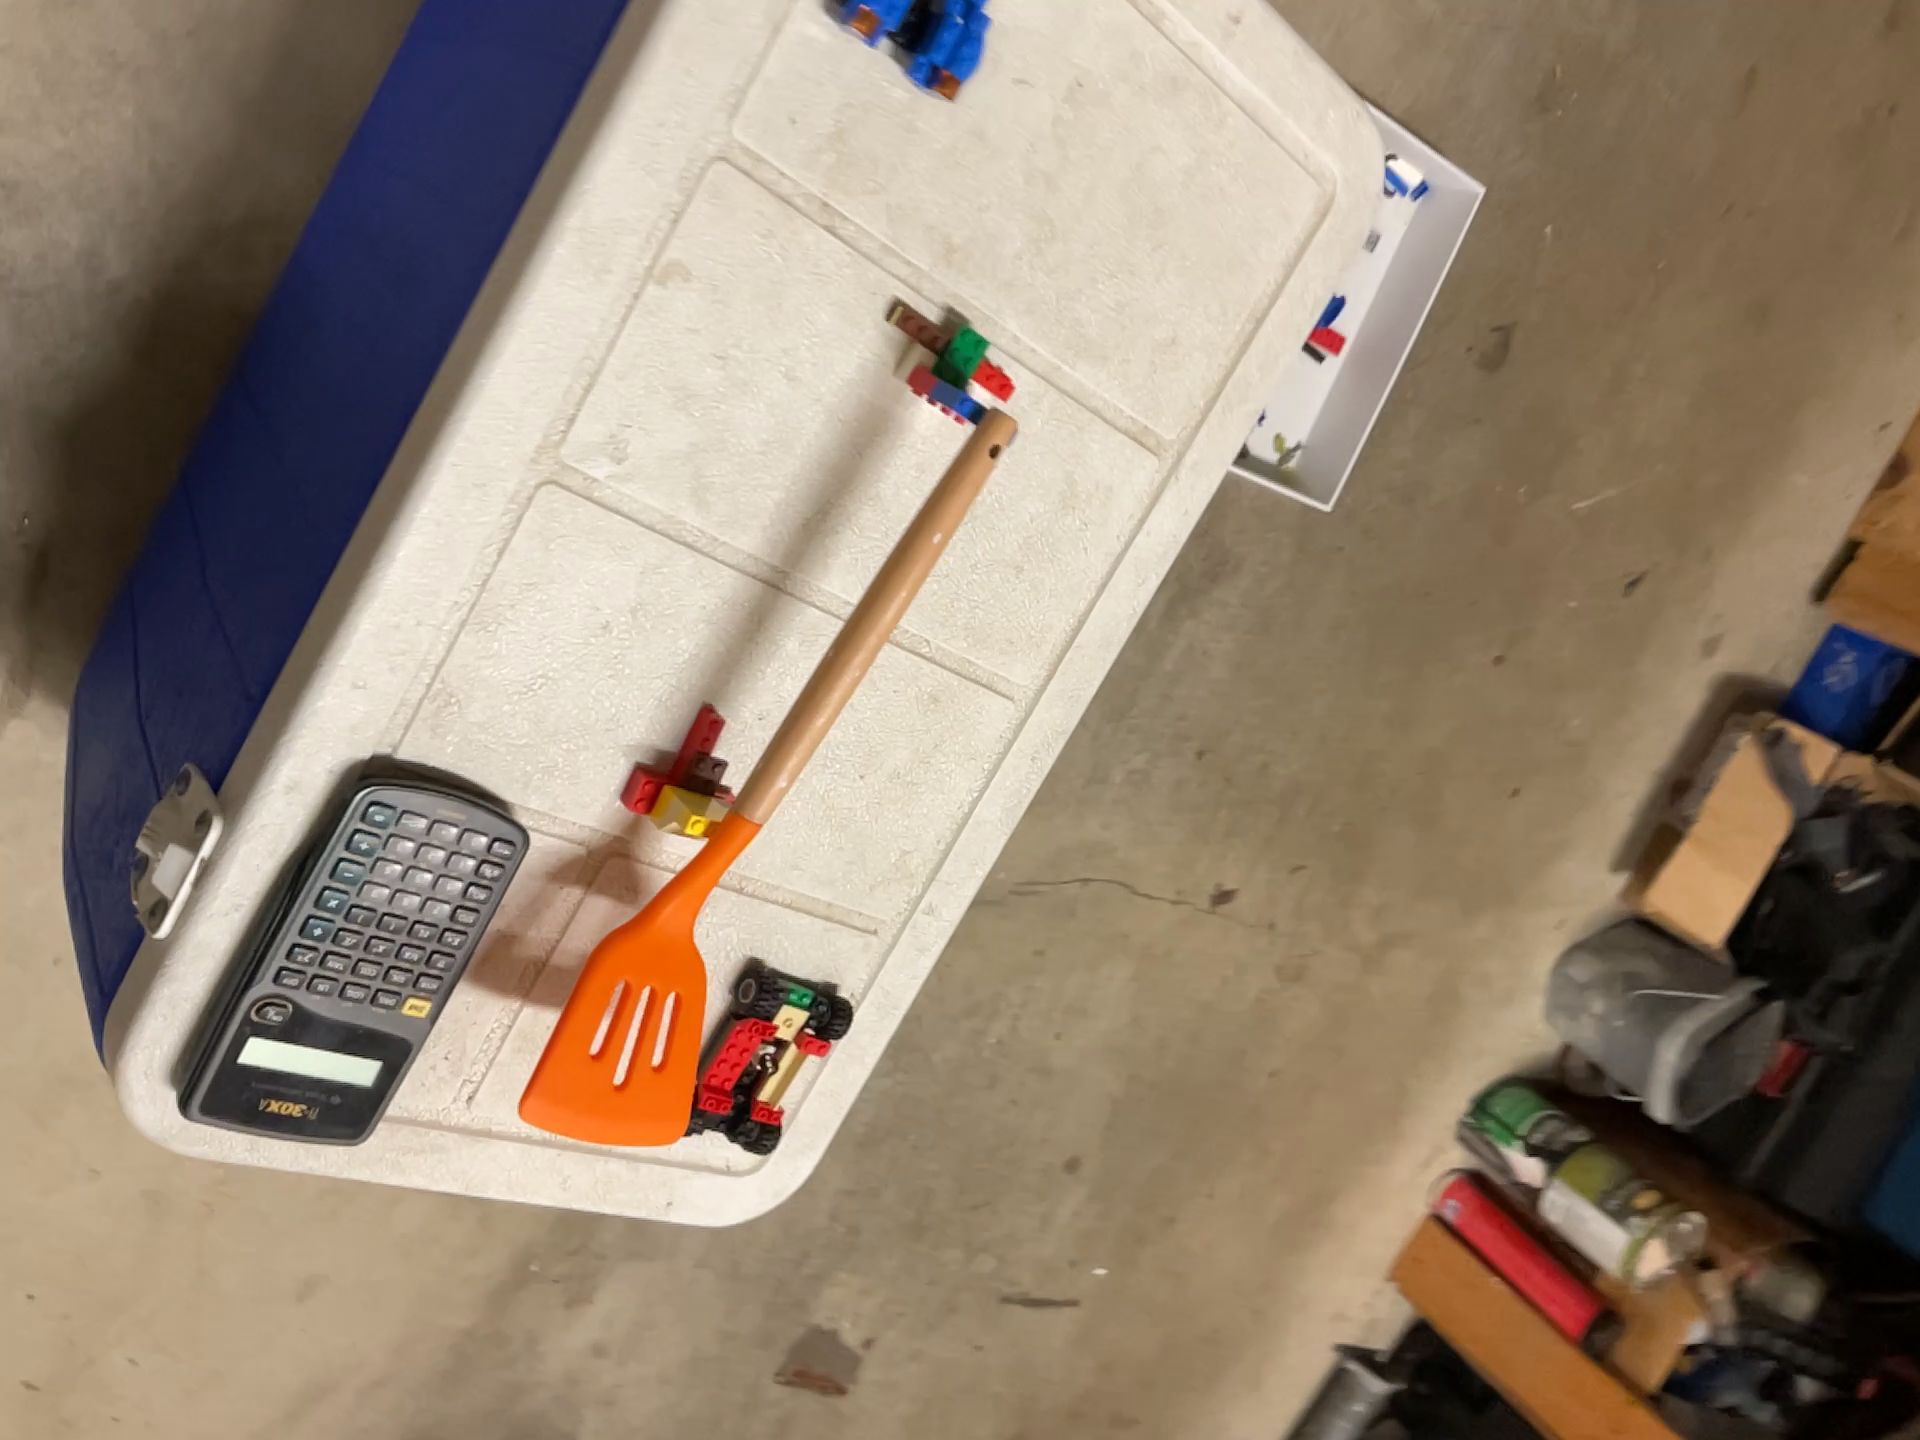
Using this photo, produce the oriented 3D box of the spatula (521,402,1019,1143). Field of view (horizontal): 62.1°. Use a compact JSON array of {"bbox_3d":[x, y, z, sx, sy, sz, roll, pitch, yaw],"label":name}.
[{"bbox_3d":[-0.065,0.020,0.618,0.081,0.041,0.322,26,99,-44],"label":"spatula"}]
